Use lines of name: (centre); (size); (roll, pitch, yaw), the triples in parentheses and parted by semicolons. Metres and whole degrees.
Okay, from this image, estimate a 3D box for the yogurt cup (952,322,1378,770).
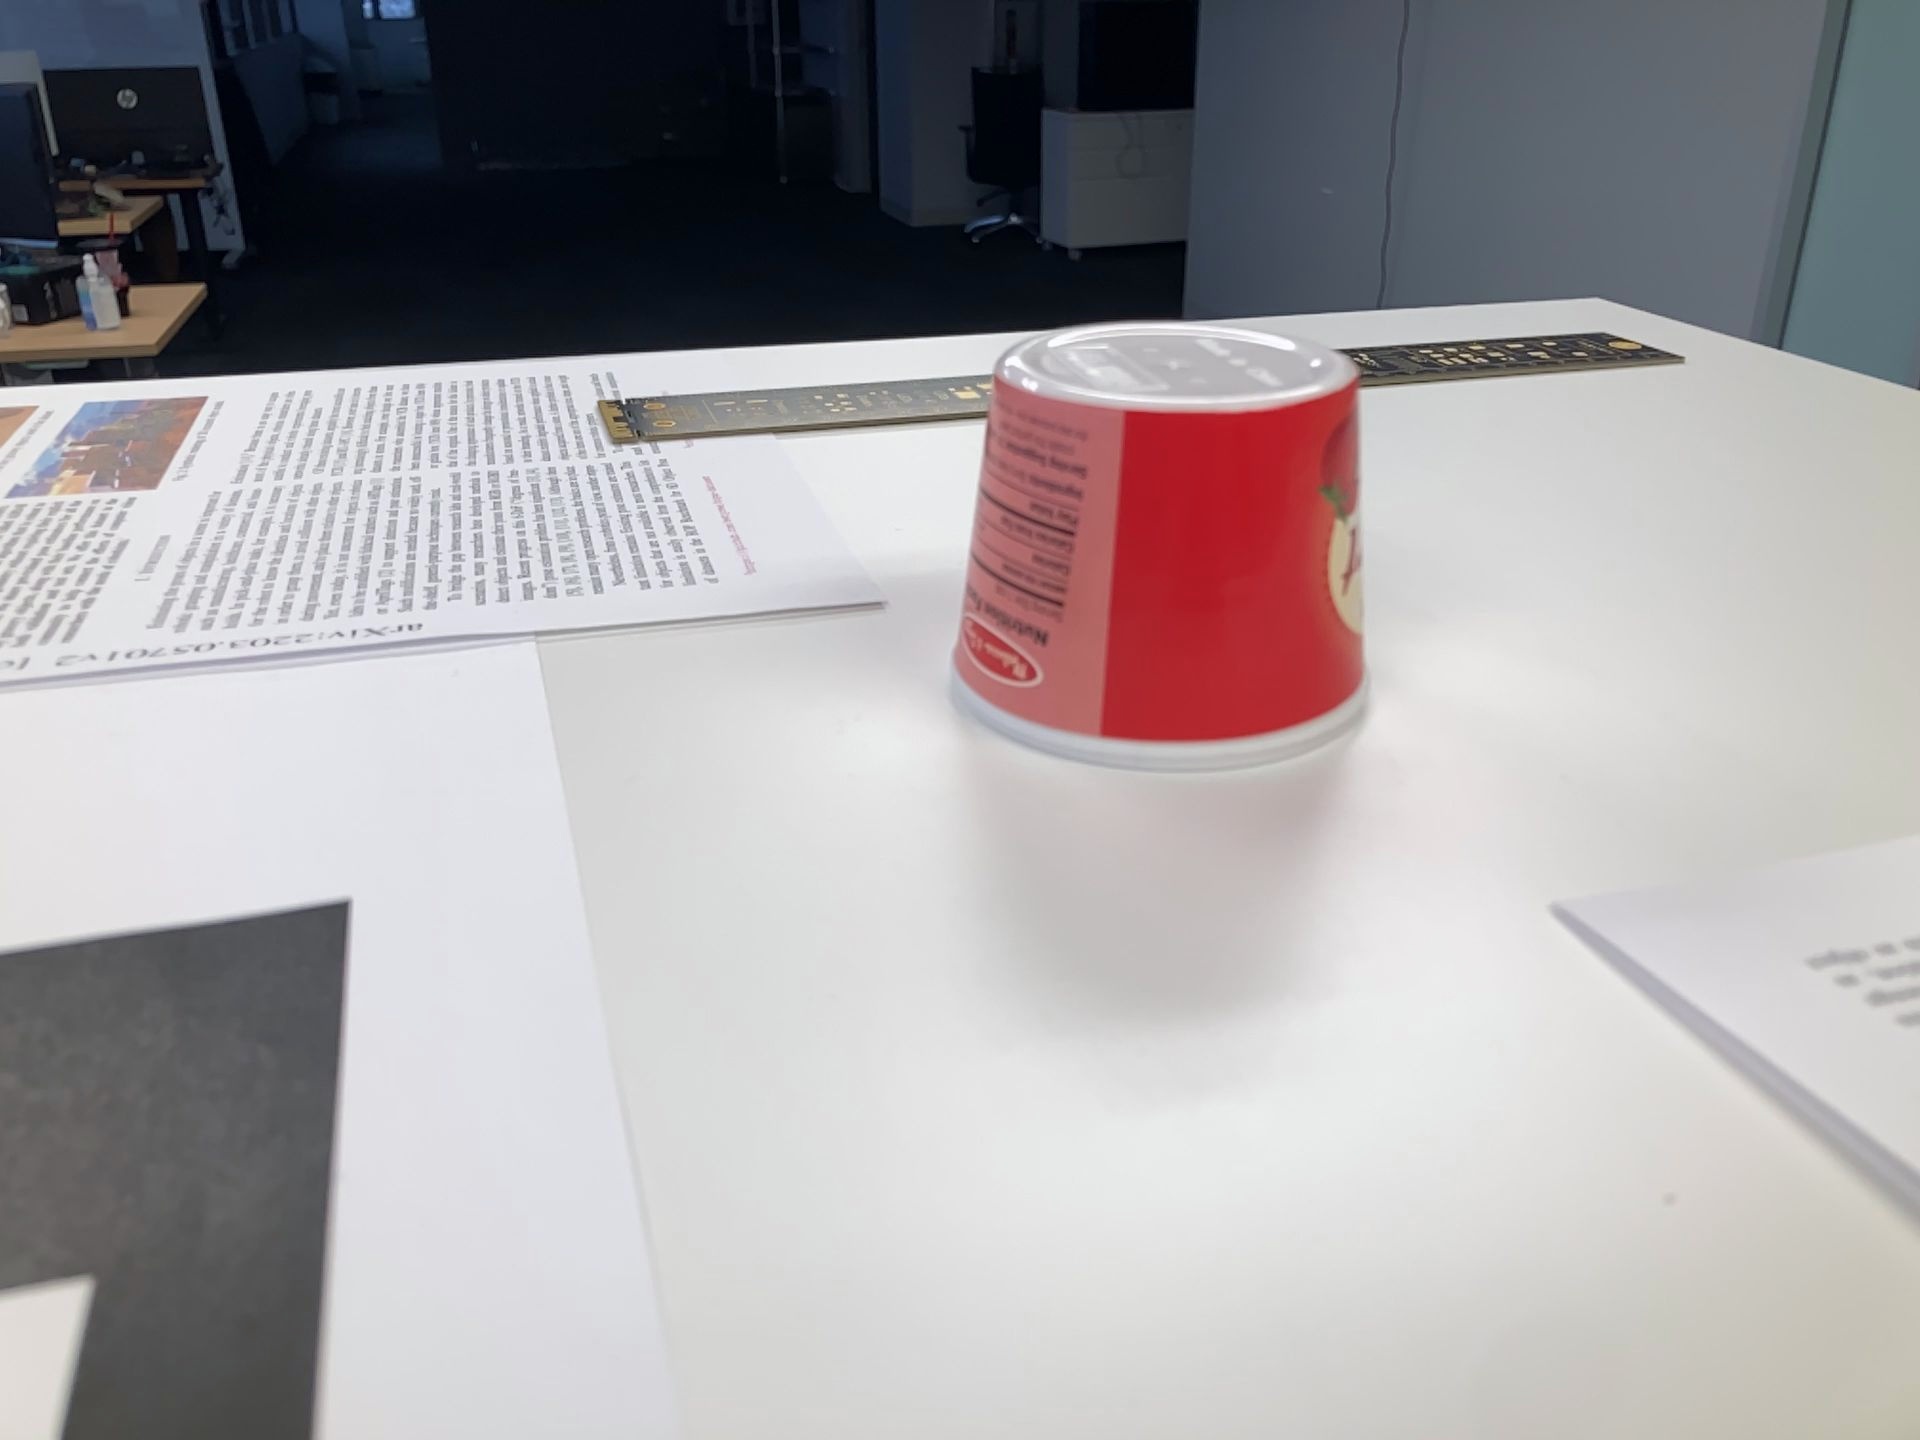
yogurt cup: (0.033, -0.031, 0.251); (0.072, 0.054, 0.072); (0, 26, 0)
